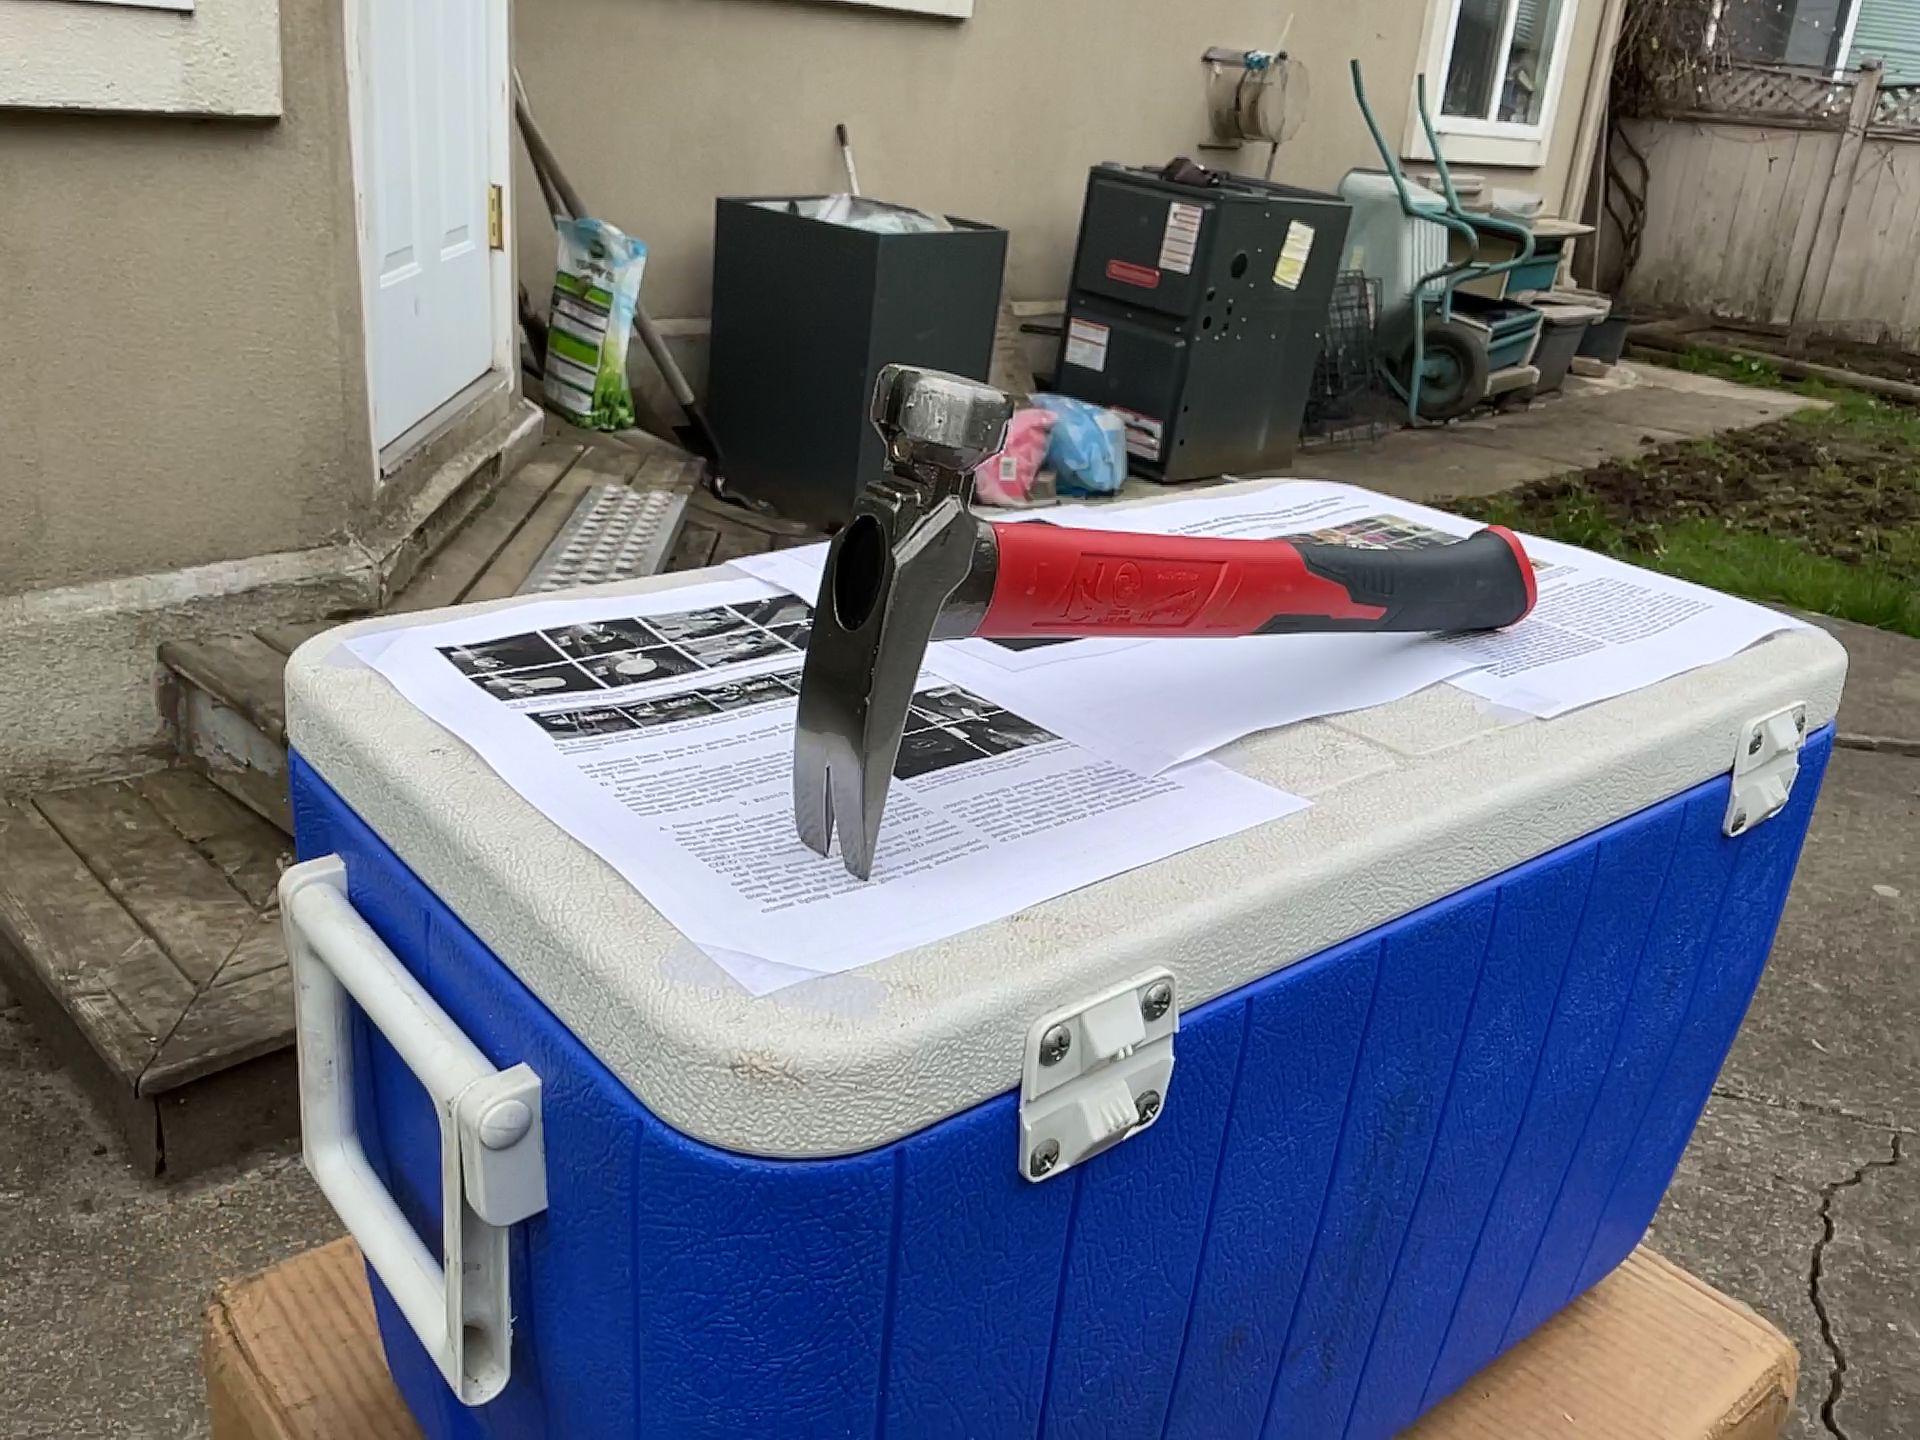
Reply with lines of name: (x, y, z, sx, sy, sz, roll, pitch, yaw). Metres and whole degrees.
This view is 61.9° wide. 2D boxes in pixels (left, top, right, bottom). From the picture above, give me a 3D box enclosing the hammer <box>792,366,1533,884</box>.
hammer: (0.101, -0.032, 0.573, 0.038, 0.143, 0.386, 26, 20, 40)
